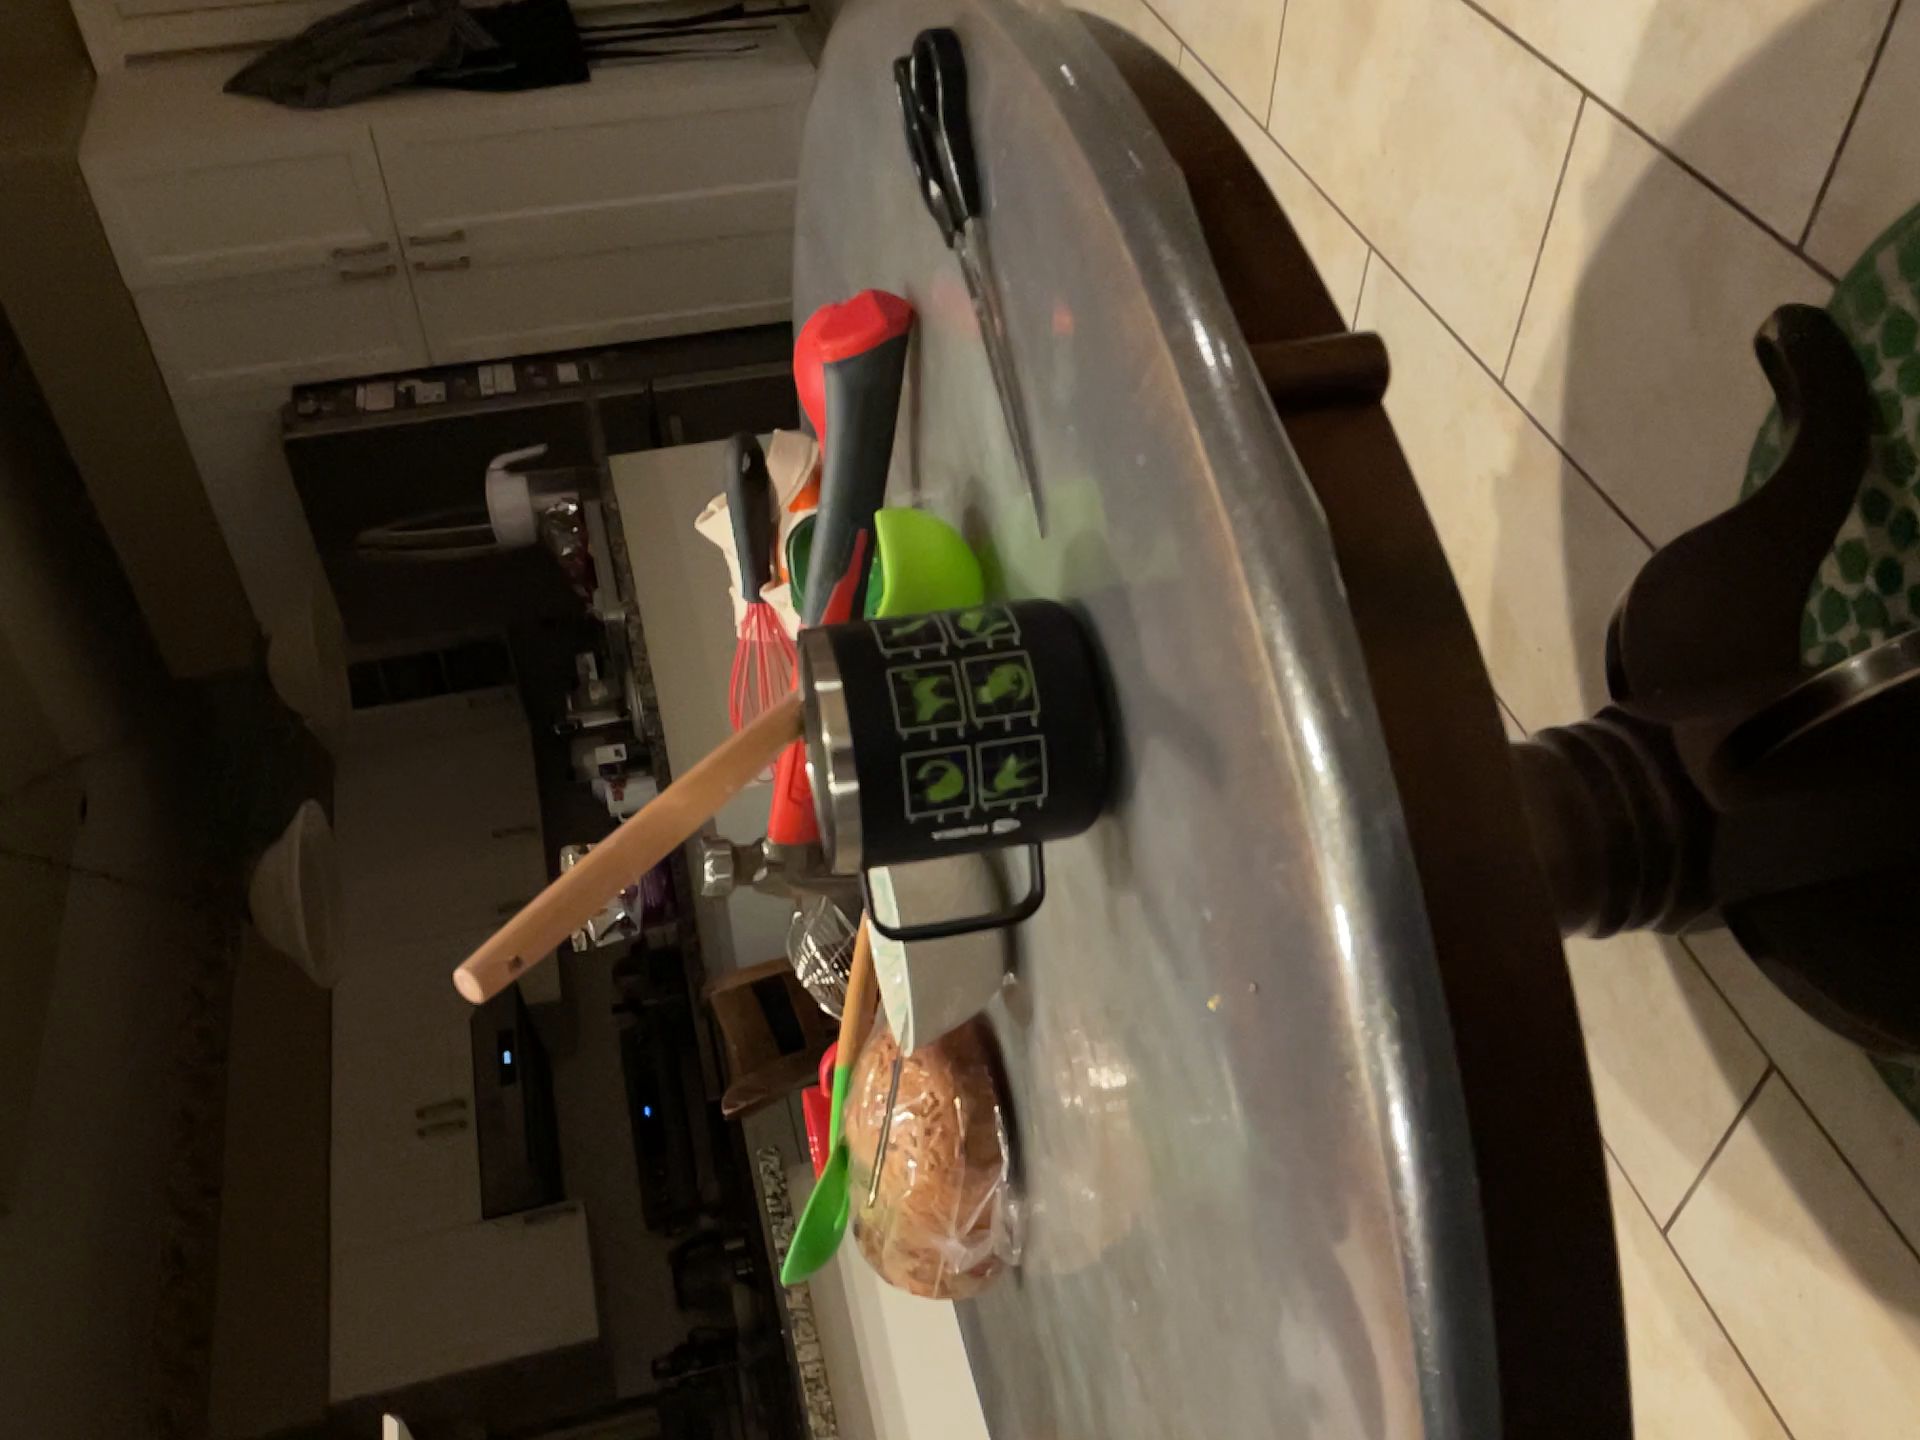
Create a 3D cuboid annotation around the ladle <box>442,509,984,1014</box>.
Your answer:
[{"bbox_3d":[-0.083,0.007,0.606,0.062,0.320,0.078,2,121,35],"label":"ladle"}]

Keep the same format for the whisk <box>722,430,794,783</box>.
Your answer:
[{"bbox_3d":[-0.146,-0.075,1.160,0.073,0.073,0.295,-113,17,-52],"label":"whisk"}]

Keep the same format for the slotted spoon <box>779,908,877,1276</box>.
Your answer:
[{"bbox_3d":[-0.066,0.193,0.988,0.070,0.031,0.314,101,179,-50],"label":"slotted spoon"}]

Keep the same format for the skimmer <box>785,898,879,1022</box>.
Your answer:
[{"bbox_3d":[-0.067,0.096,1.167,0.127,0.090,0.363,61,149,37],"label":"skimmer"}]

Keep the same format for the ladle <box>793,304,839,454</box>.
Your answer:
[{"bbox_3d":[-0.081,-0.125,1.046,0.069,0.031,0.315,-111,14,-47],"label":"ladle"}]

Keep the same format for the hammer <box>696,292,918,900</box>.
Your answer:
[{"bbox_3d":[-0.056,-0.047,0.866,0.038,0.143,0.386,-113,29,-46],"label":"hammer"}]
